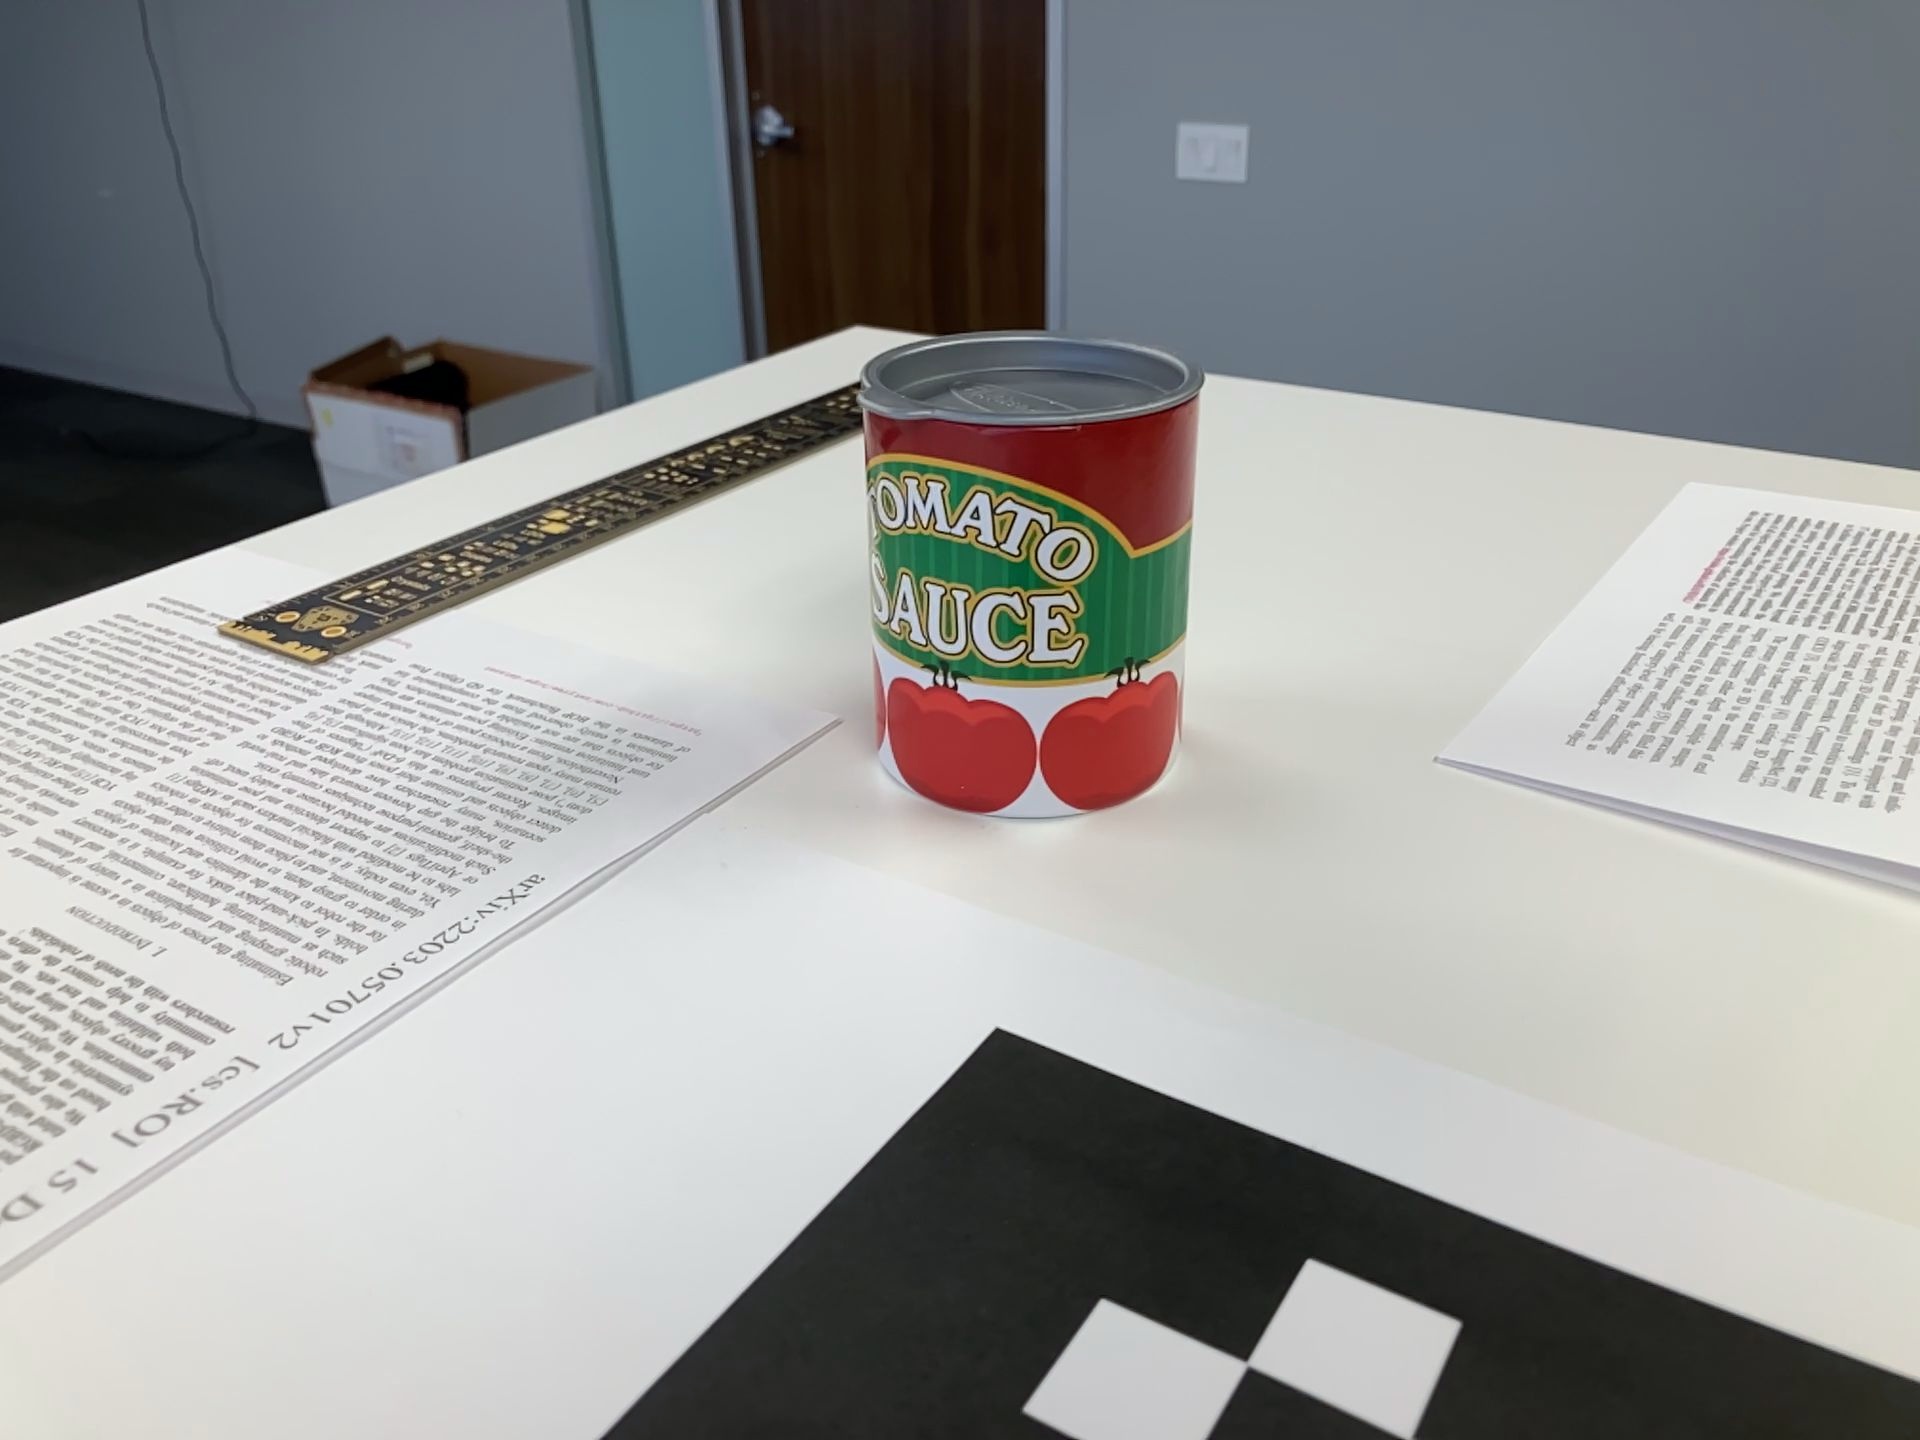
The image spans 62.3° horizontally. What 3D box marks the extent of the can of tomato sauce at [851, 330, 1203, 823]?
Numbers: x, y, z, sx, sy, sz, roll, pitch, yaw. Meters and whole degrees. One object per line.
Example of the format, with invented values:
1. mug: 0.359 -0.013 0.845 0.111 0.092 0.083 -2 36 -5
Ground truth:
1. can of tomato sauce: 0.012 -0.030 0.320 0.071 0.083 0.071 -1 26 0
